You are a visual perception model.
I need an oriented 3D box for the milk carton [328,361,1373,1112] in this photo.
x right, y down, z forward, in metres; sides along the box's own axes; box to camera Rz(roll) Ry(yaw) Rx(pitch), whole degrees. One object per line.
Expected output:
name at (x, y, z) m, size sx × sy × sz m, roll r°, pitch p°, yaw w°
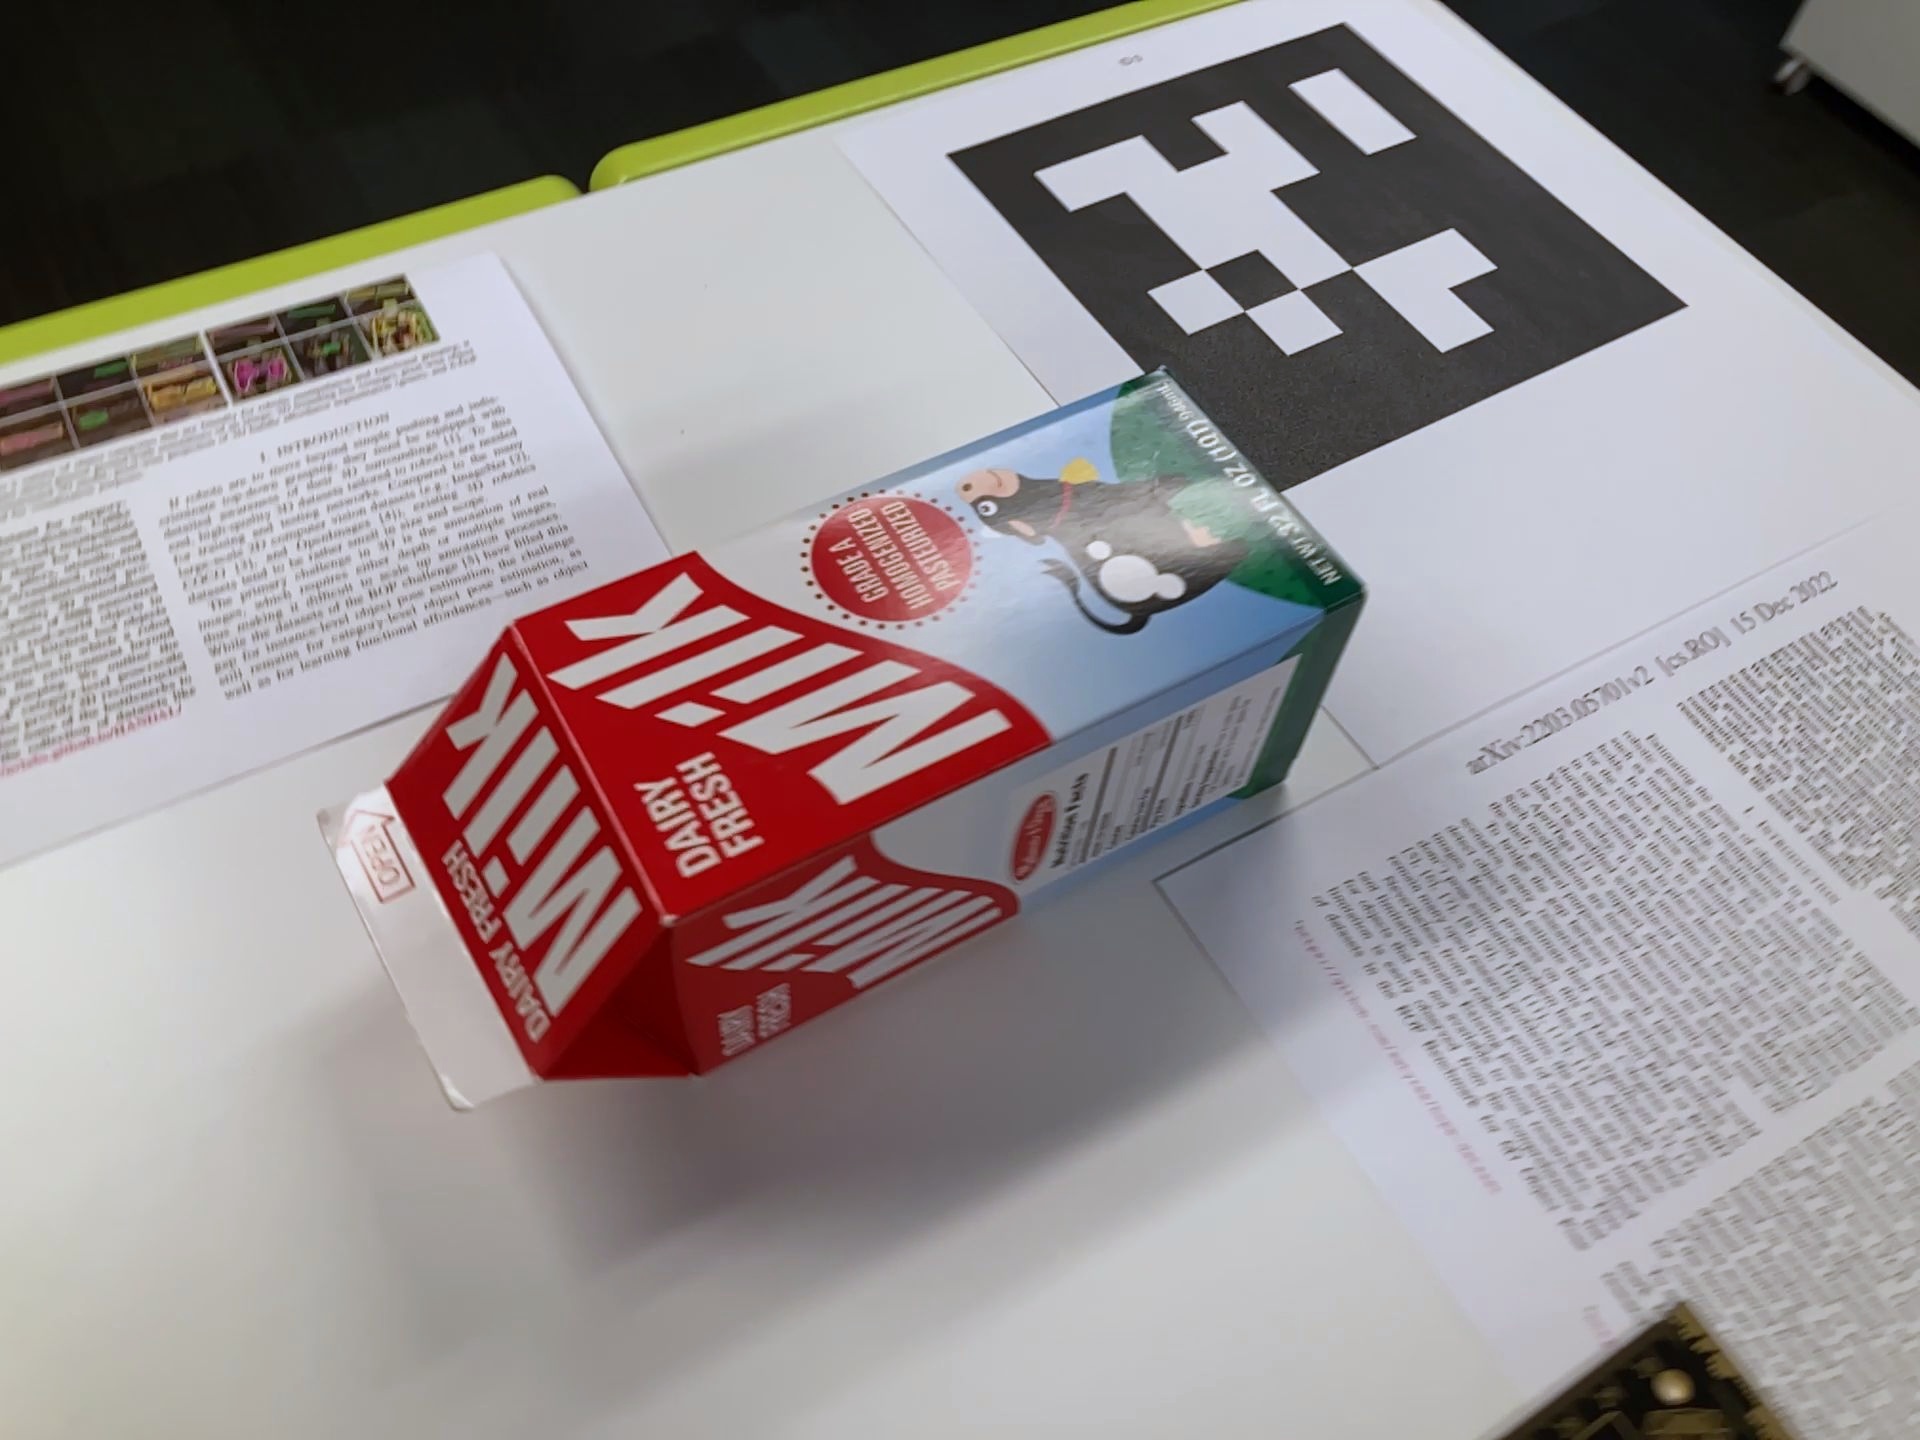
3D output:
milk carton at (-0.021, 0.005, 0.318) m, size 0.190 × 0.073 × 0.072 m, roll -25°, pitch 62°, yaw -19°
